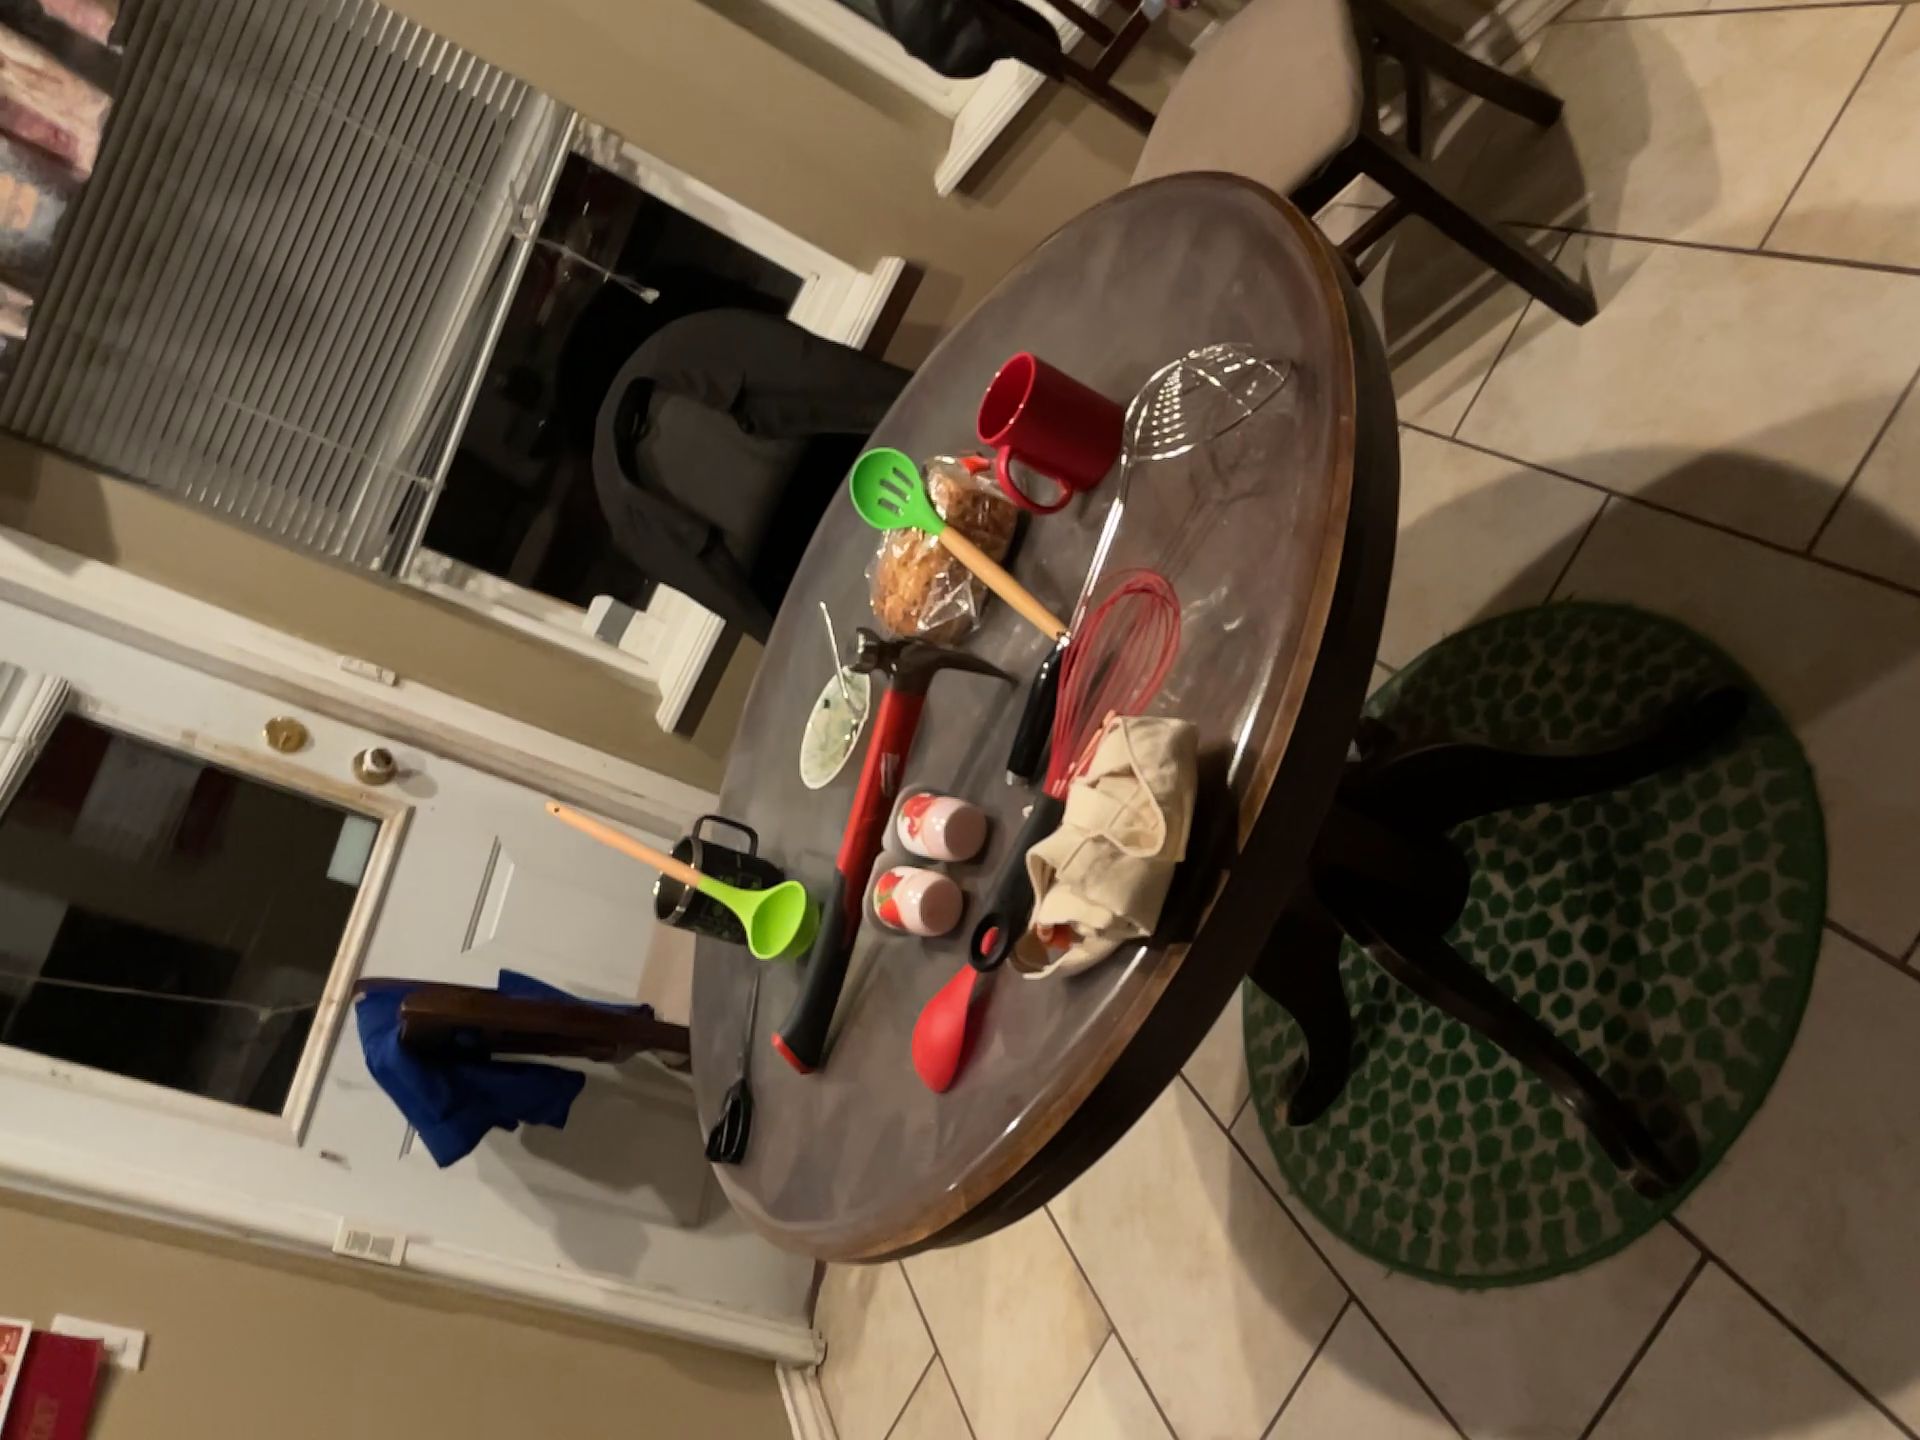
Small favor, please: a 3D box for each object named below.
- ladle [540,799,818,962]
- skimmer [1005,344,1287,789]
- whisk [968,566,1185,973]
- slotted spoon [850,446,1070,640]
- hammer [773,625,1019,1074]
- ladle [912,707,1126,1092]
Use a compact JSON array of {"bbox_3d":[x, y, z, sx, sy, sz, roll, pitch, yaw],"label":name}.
[{"bbox_3d":[-0.272,0.139,1.493,0.078,0.320,0.062,-62,-19,-14],"label":"ladle"},{"bbox_3d":[0.130,-0.106,1.172,0.127,0.090,0.363,-113,41,-67],"label":"skimmer"},{"bbox_3d":[0.072,0.034,1.059,0.296,0.073,0.073,-66,27,3],"label":"whisk"},{"bbox_3d":[0.003,-0.142,1.328,0.314,0.031,0.070,44,115,39],"label":"slotted spoon"},{"bbox_3d":[-0.069,0.118,1.320,0.038,0.143,0.386,-136,59,-64],"label":"hammer"},{"bbox_3d":[0.041,0.130,1.156,0.315,0.031,0.069,-61,27,7],"label":"ladle"}]
